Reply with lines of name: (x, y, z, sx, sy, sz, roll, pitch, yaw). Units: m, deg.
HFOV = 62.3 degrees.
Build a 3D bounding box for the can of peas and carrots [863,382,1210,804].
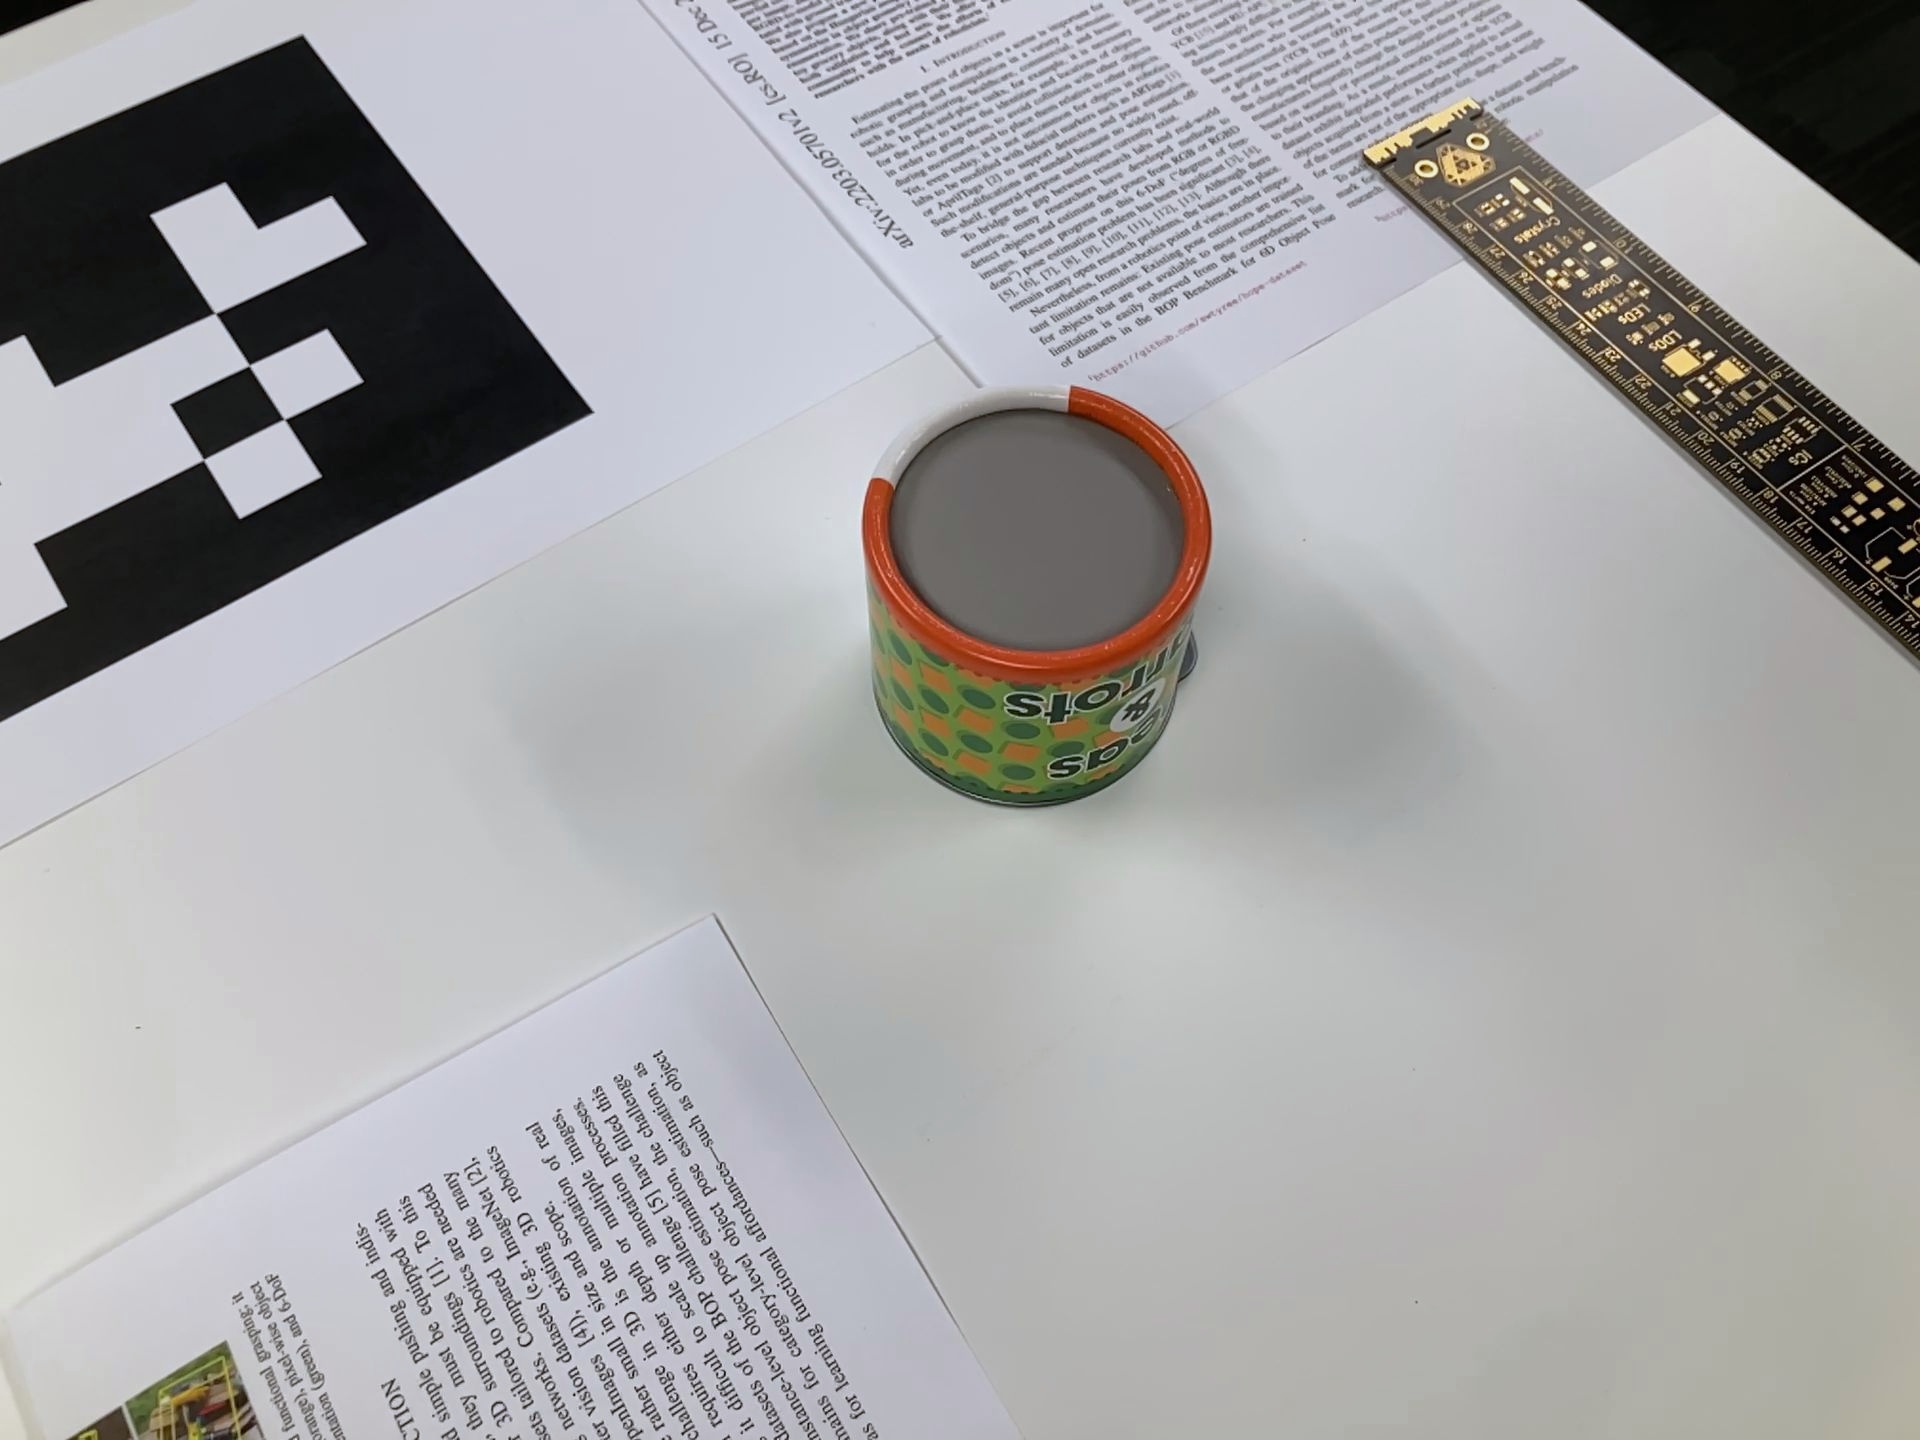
can of peas and carrots: (0.016, -0.023, 0.320, 0.071, 0.059, 0.071, 0, 63, 0)
